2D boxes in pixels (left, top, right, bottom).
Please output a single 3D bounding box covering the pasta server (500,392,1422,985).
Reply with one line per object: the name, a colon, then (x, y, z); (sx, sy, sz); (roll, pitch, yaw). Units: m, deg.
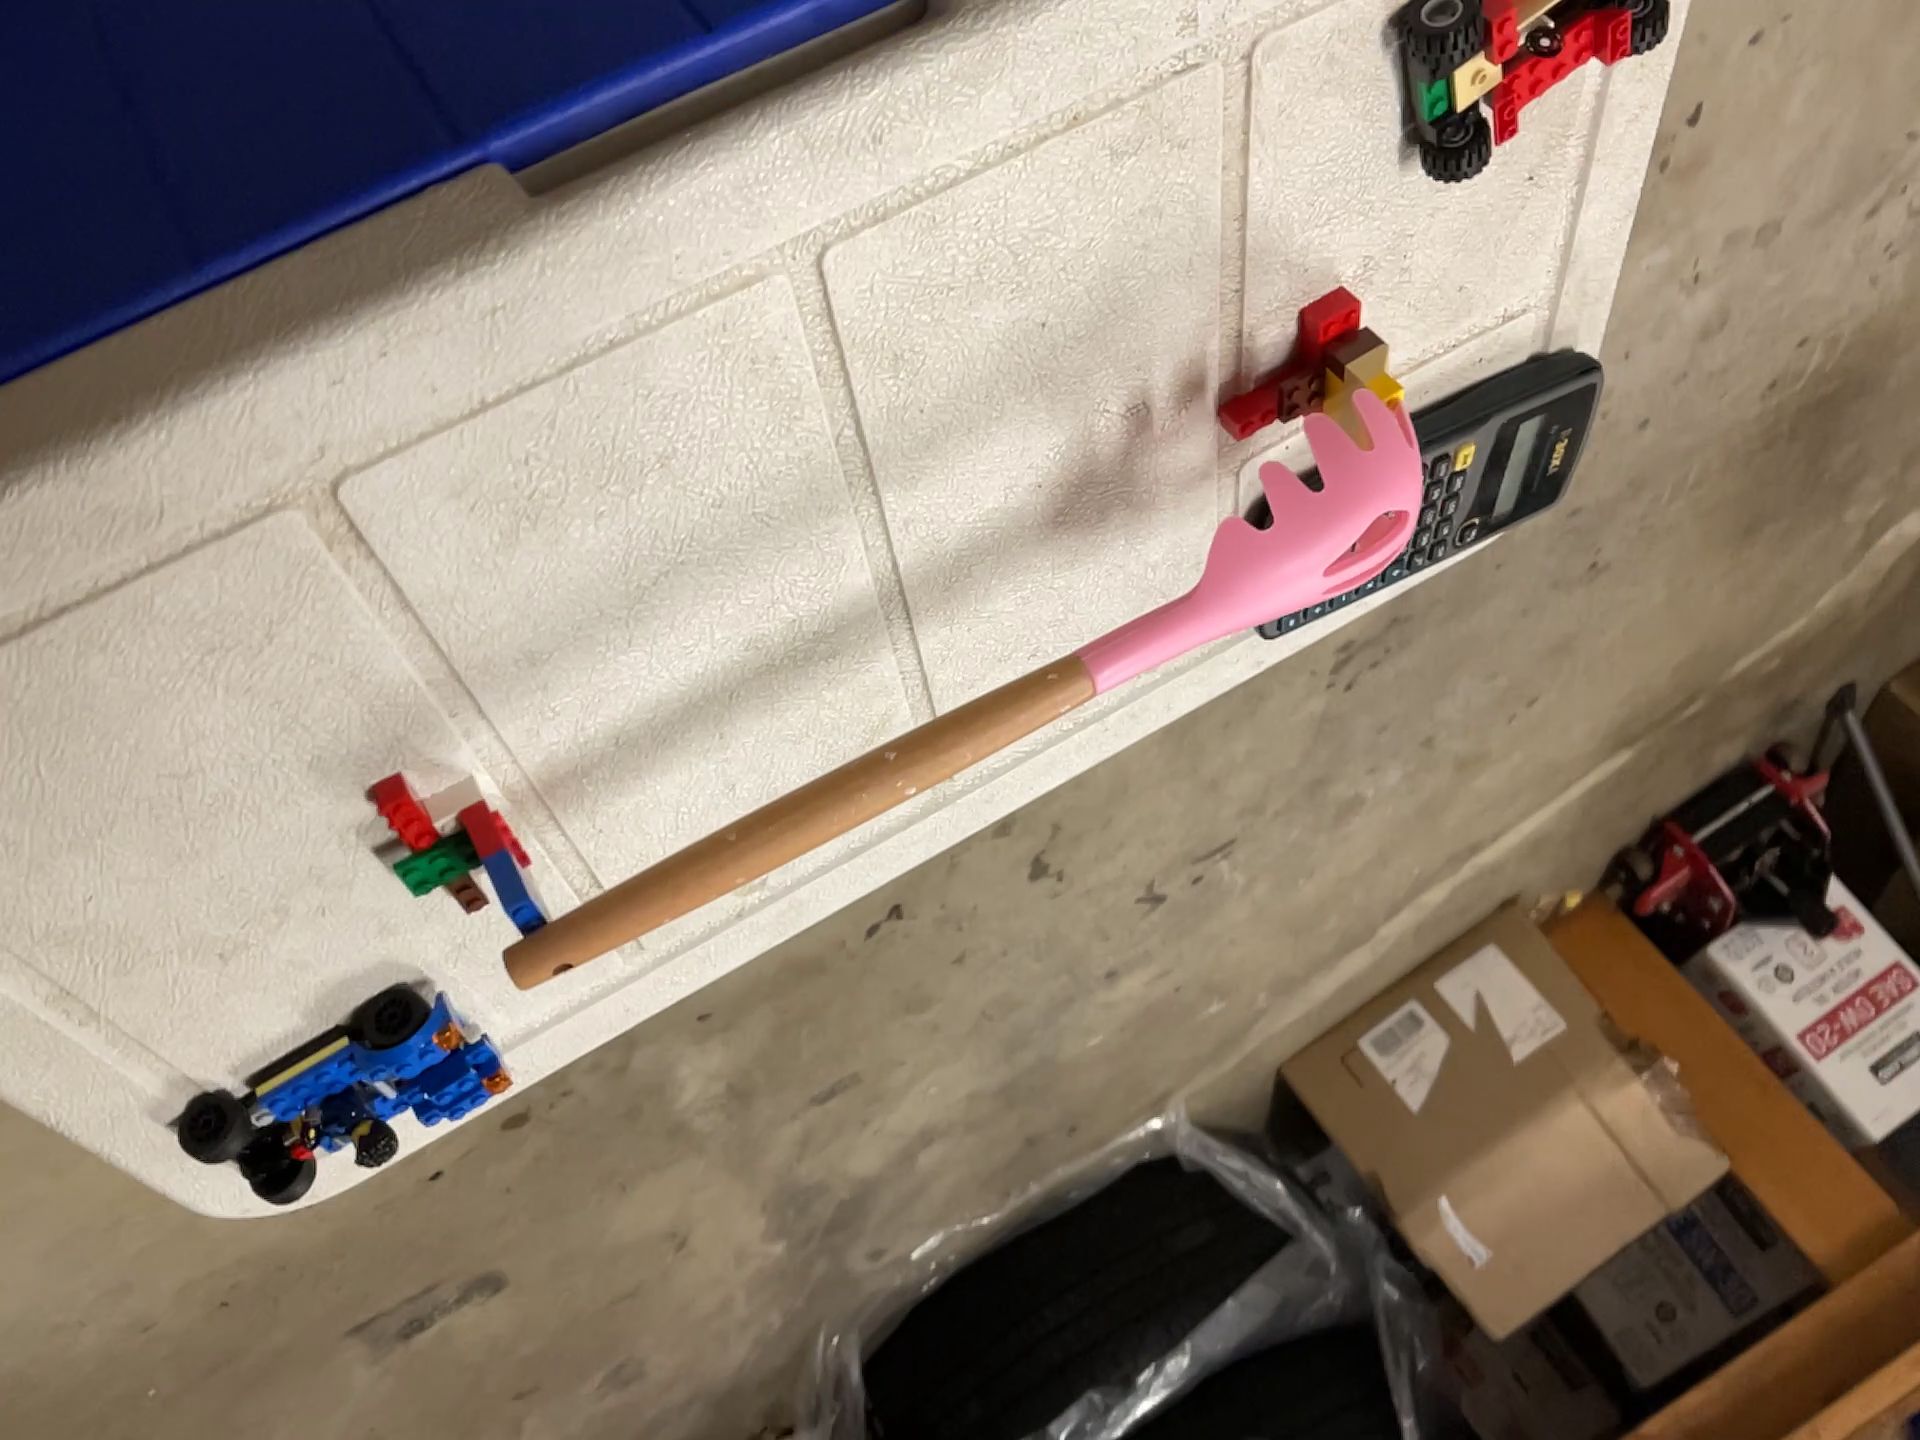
pasta server: (0.010, -0.007, 0.474); (0.316, 0.040, 0.060); (-27, 148, -8)
